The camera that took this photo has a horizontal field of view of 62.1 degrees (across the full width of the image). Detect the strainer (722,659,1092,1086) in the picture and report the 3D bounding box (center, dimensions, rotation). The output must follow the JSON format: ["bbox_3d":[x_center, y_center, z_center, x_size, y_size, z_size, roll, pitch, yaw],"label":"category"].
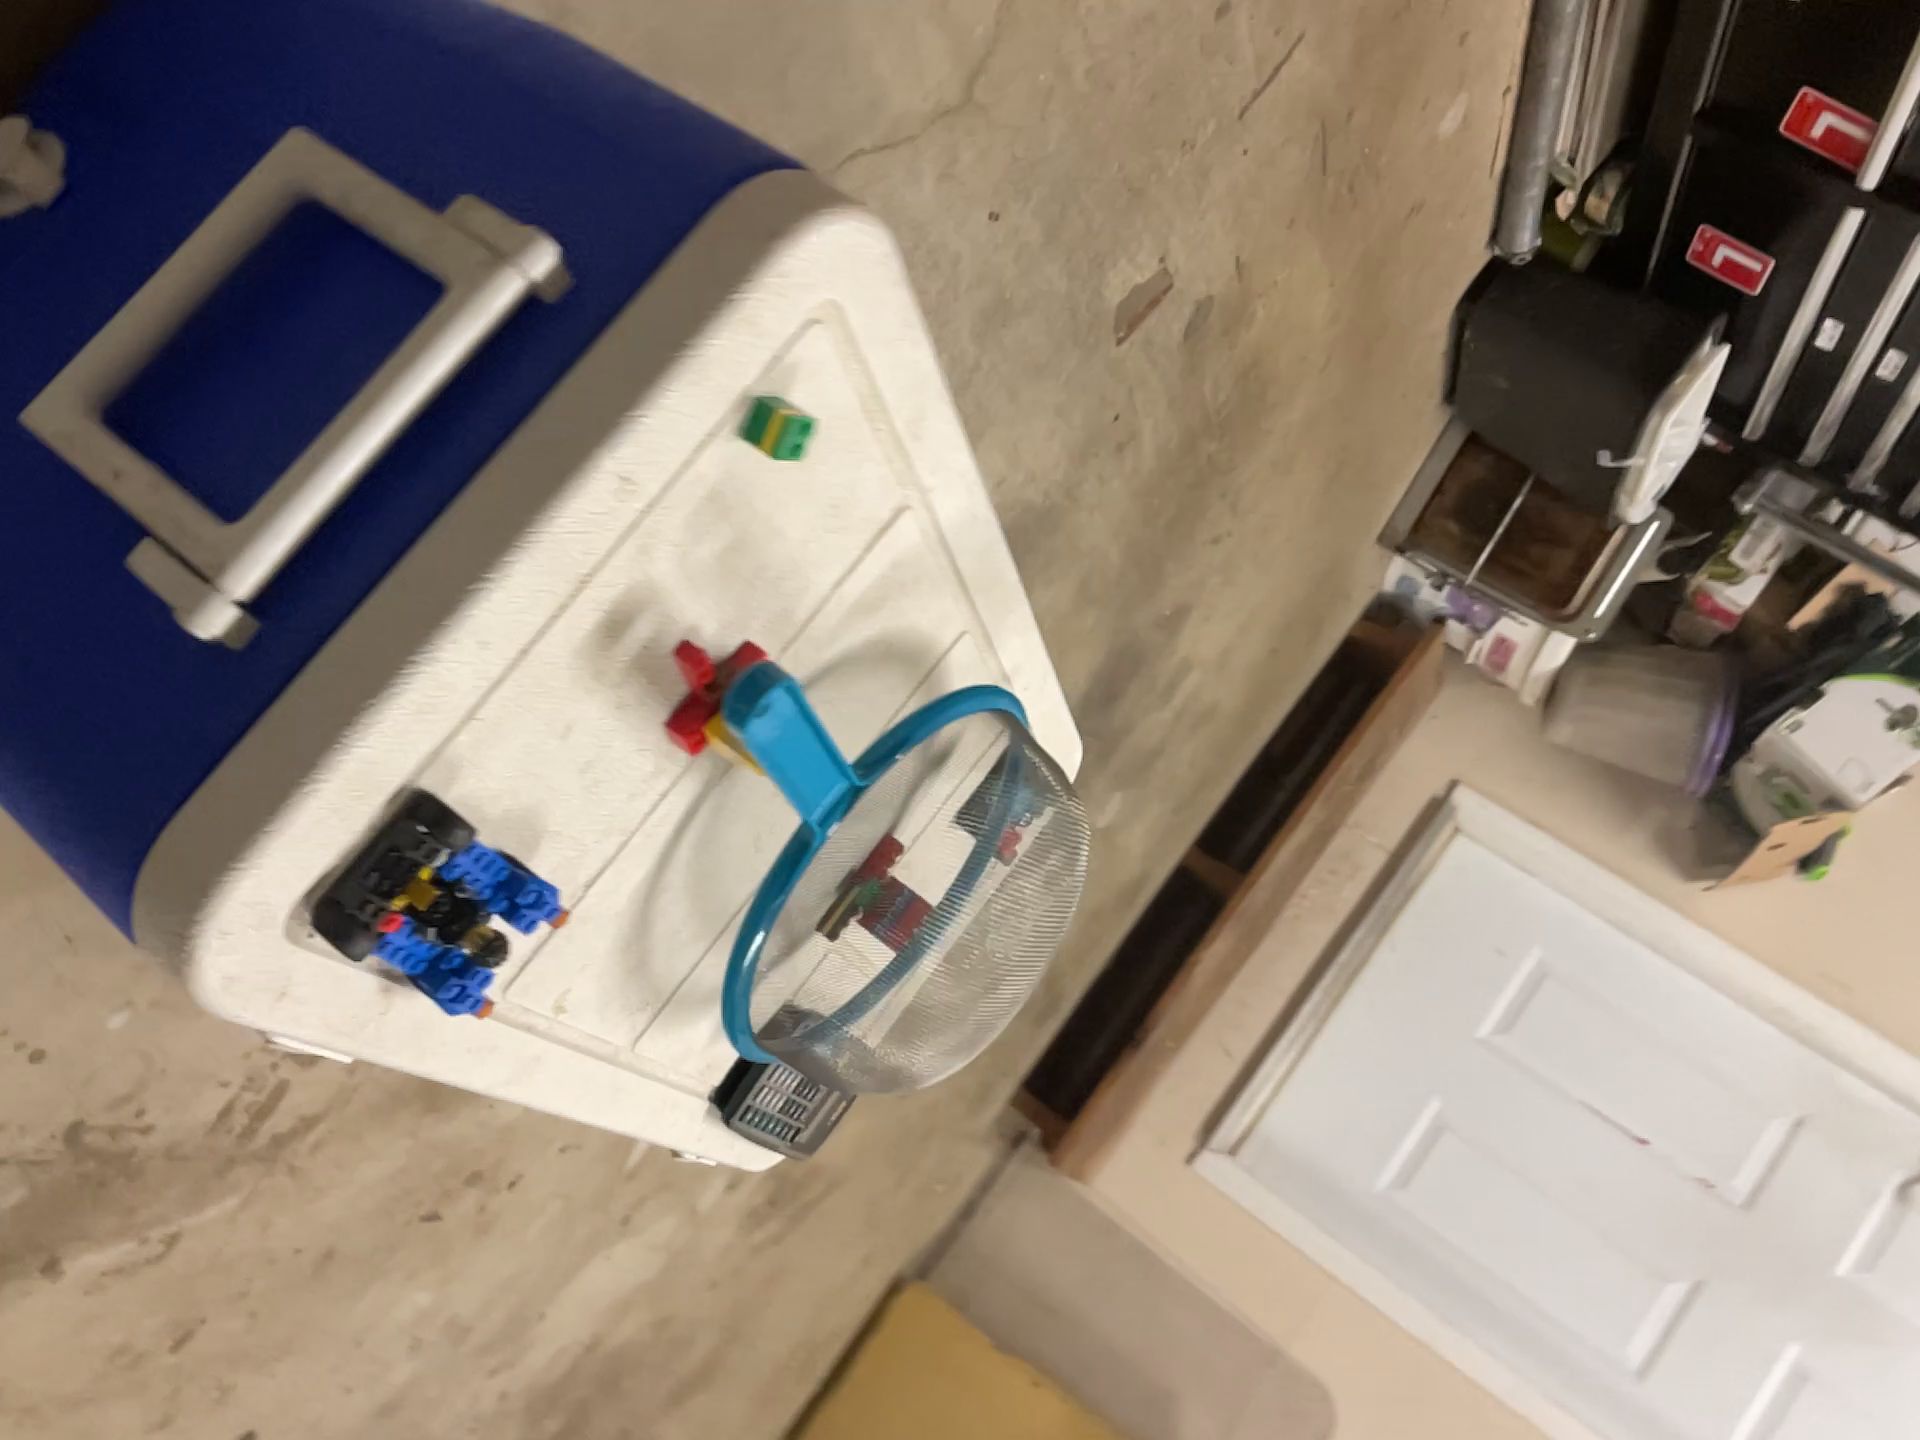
[{"bbox_3d":[-0.014,0.069,0.677,0.211,0.095,0.340,-51,159,-11],"label":"strainer"}]
